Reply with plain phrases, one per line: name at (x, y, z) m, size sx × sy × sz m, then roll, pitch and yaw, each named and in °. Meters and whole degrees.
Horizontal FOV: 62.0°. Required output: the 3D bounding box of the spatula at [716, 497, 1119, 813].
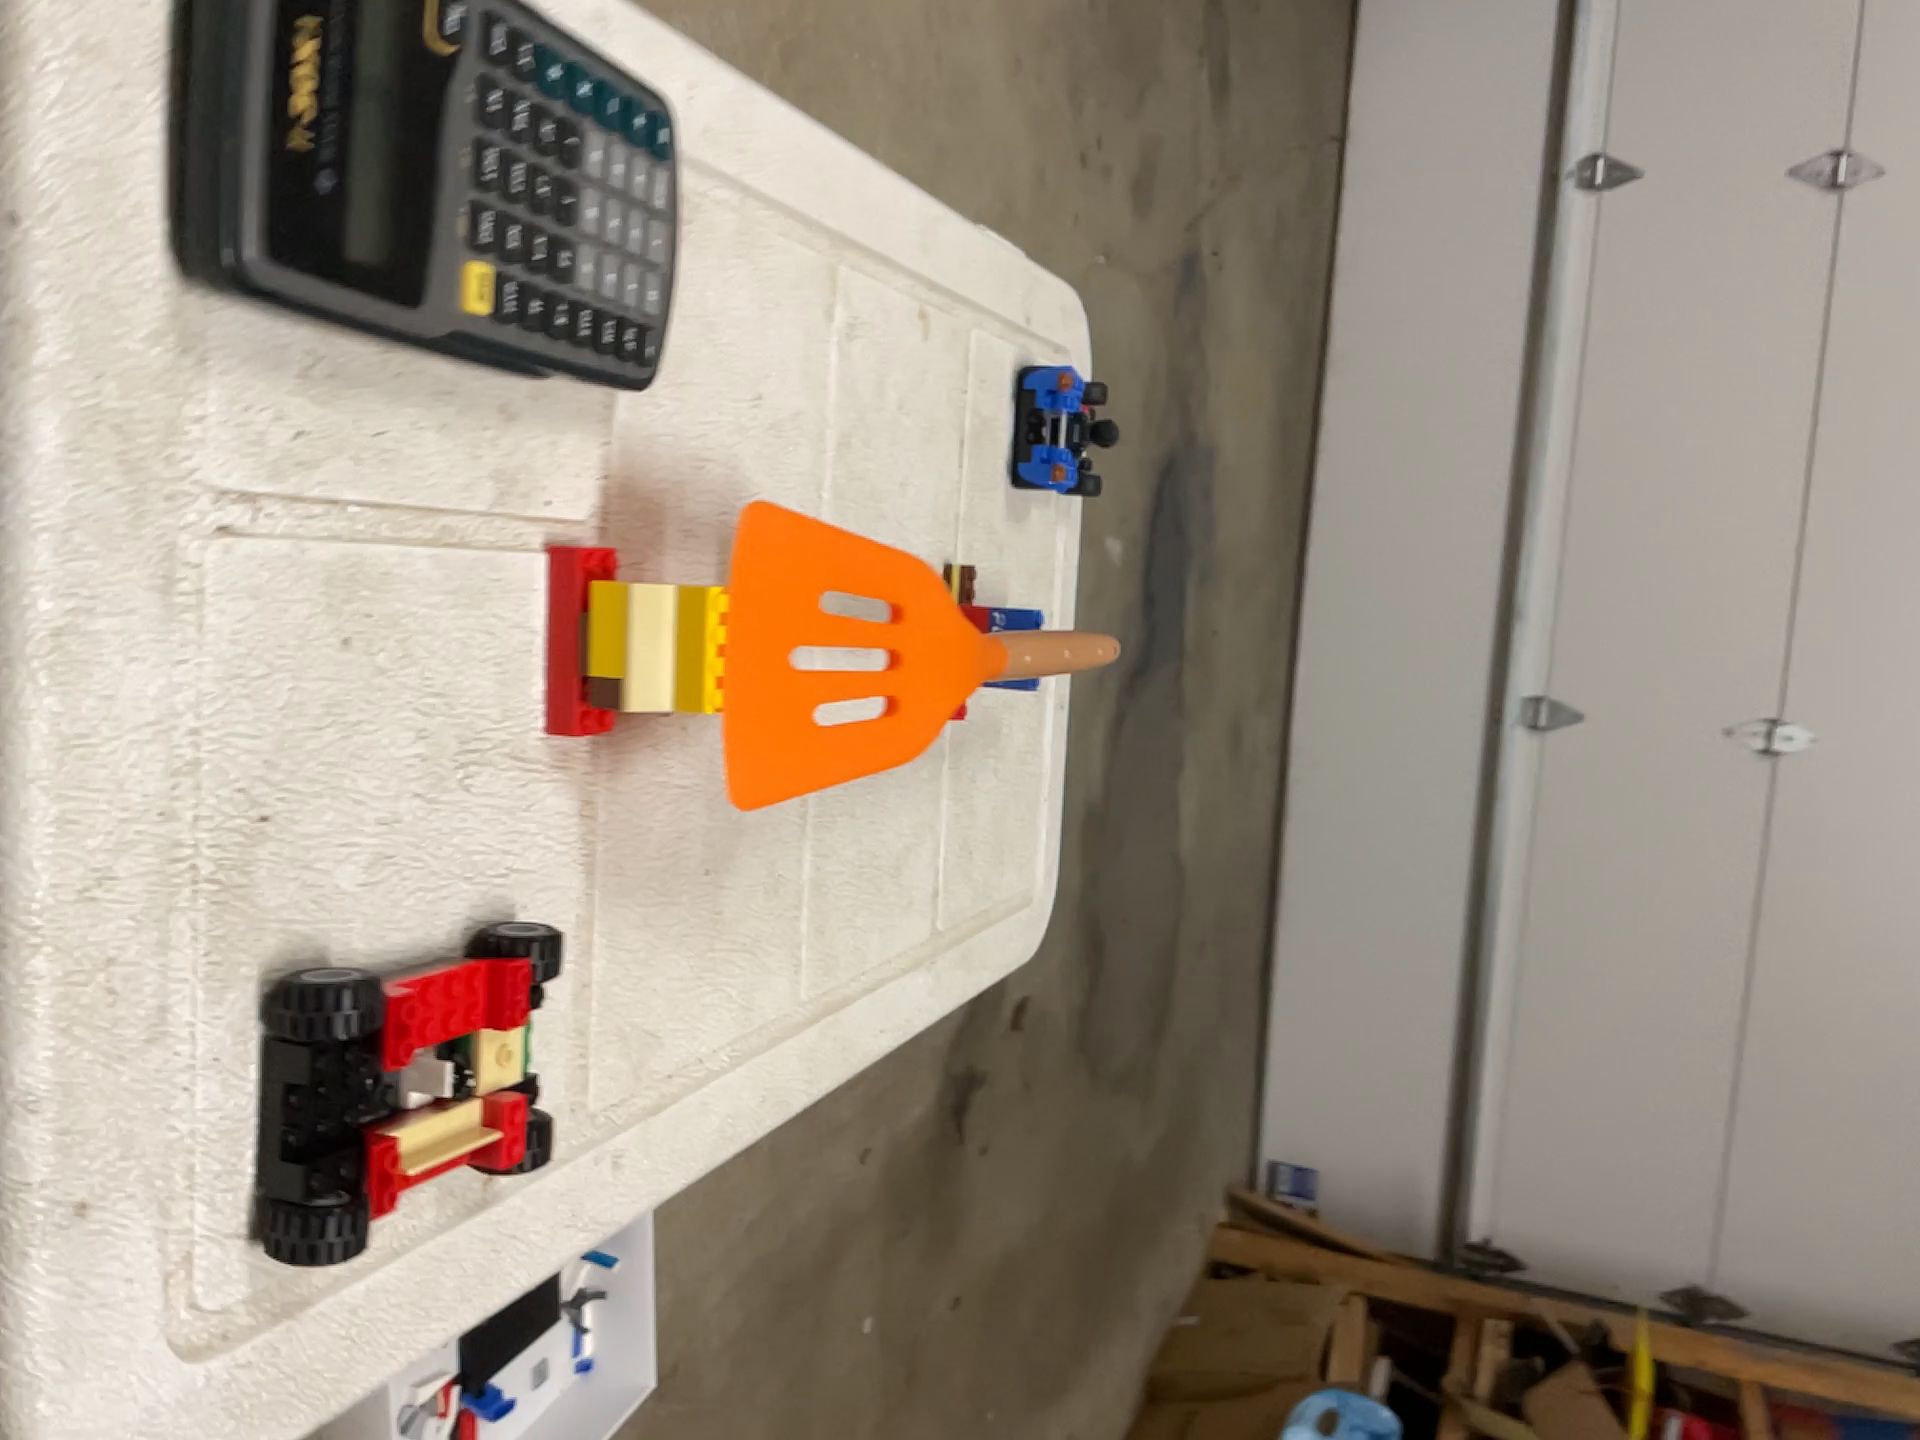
spatula at (0.006, -0.023, 0.548) m, size 0.322 × 0.041 × 0.081 m, roll -10°, pitch 103°, yaw -72°
